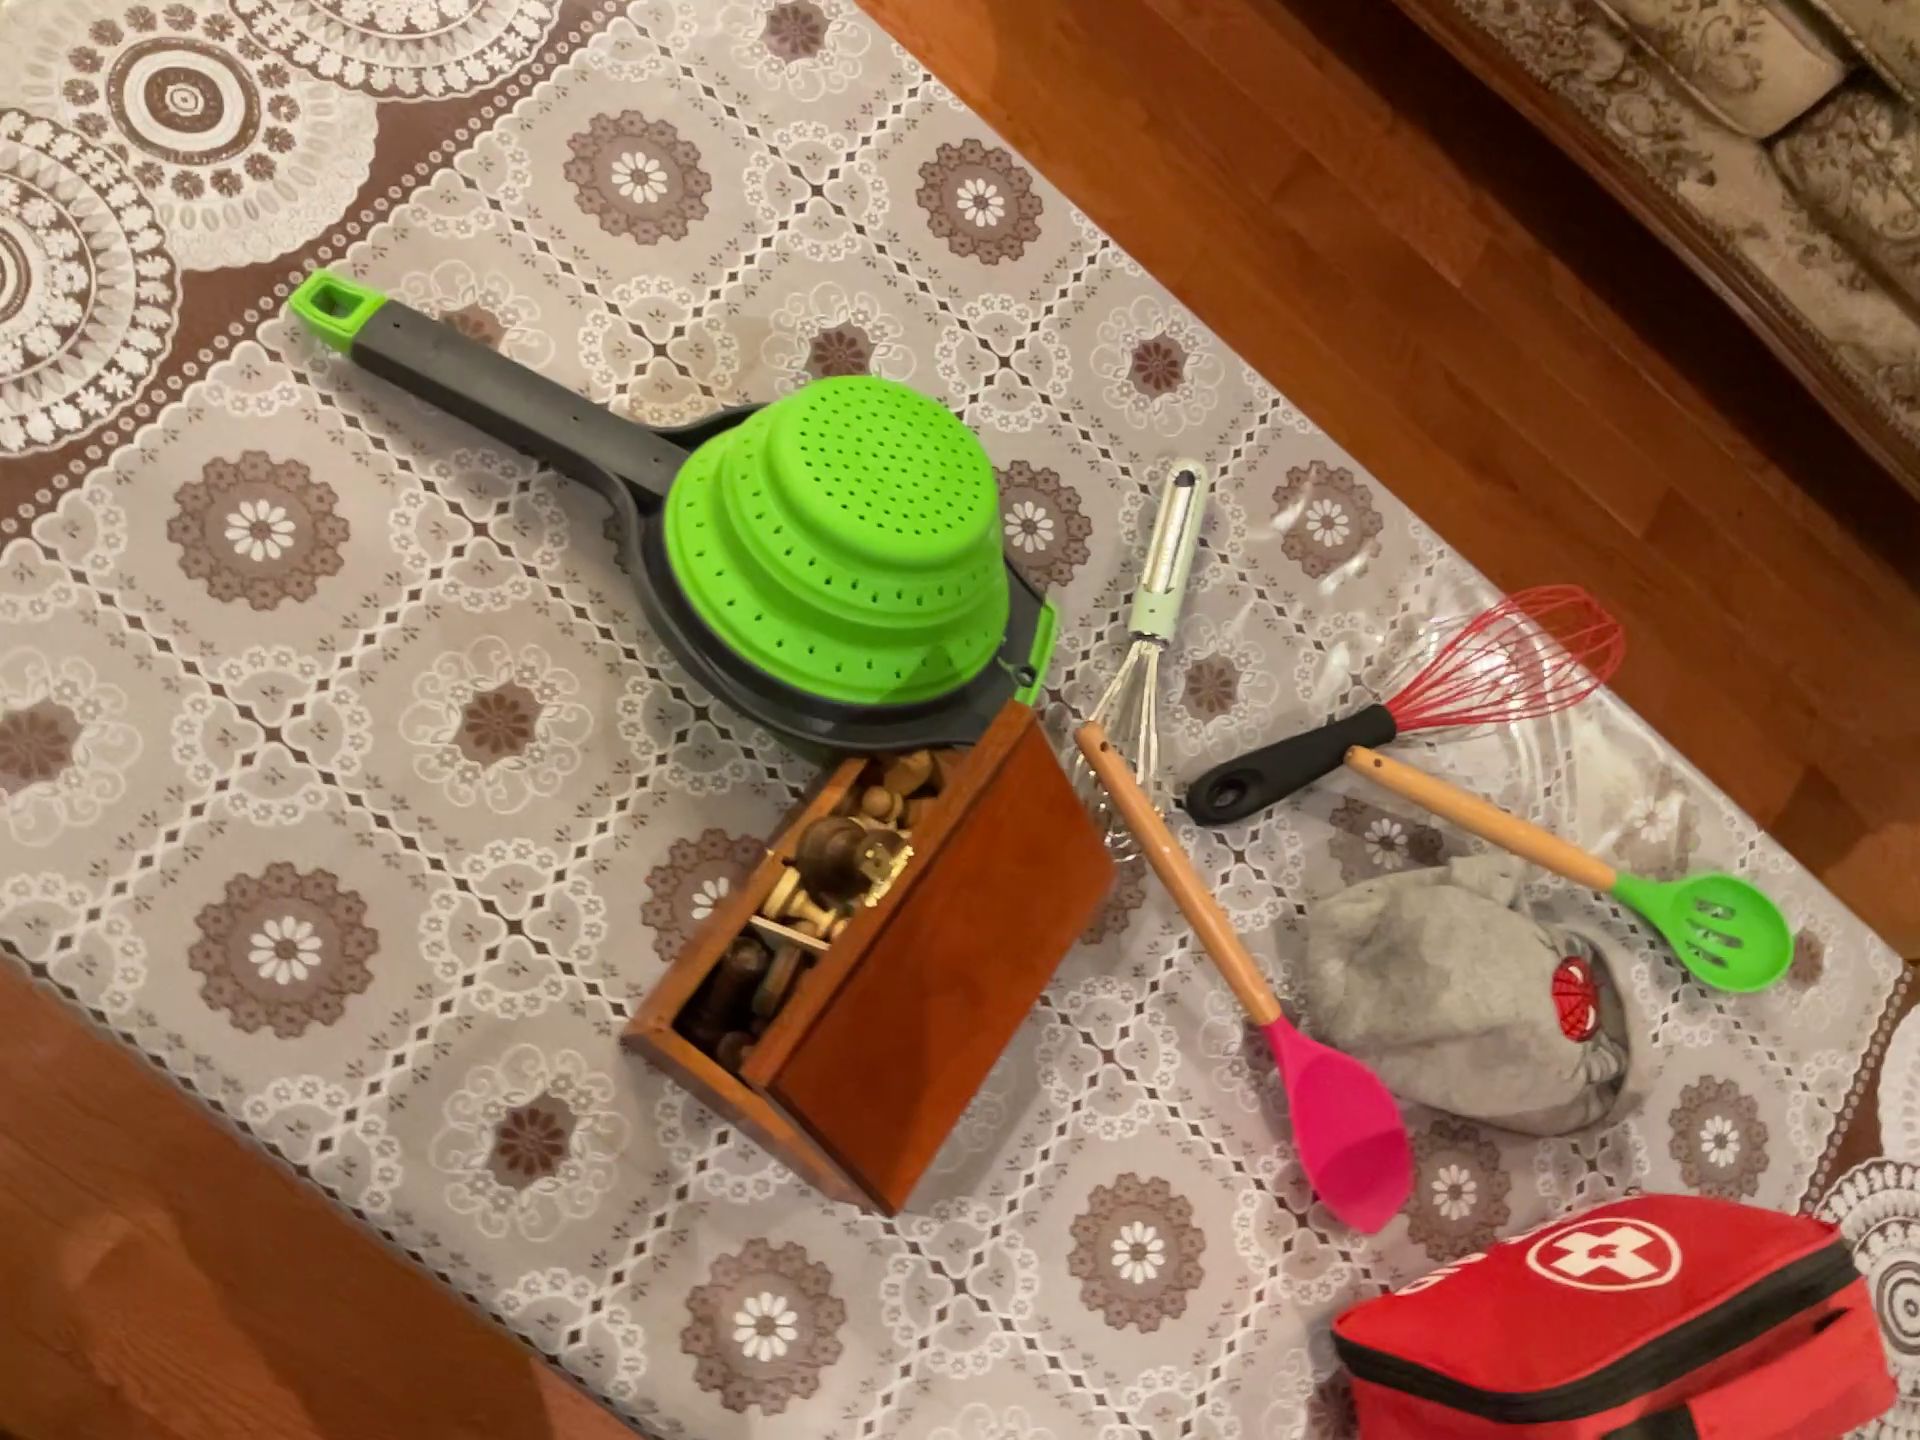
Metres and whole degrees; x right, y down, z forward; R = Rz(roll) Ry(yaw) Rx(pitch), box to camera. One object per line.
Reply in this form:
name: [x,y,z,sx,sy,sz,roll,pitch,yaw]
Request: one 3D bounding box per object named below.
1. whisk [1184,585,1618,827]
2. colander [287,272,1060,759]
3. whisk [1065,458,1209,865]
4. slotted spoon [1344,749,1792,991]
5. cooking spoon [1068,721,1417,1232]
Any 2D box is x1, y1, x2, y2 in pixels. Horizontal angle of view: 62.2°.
whisk: [0.252,-0.005,0.892,0.296,0.073,0.073,-23,93,-17]
colander: [-0.121,-0.128,0.736,0.397,0.094,0.205,27,50,-5]
whisk: [0.097,-0.034,0.850,0.057,0.059,0.246,45,56,-52]
slotted spoon: [0.349,0.080,0.909,0.313,0.031,0.070,24,71,-17]
cooking spoon: [0.145,0.132,0.808,0.069,0.017,0.318,-40,104,-25]
